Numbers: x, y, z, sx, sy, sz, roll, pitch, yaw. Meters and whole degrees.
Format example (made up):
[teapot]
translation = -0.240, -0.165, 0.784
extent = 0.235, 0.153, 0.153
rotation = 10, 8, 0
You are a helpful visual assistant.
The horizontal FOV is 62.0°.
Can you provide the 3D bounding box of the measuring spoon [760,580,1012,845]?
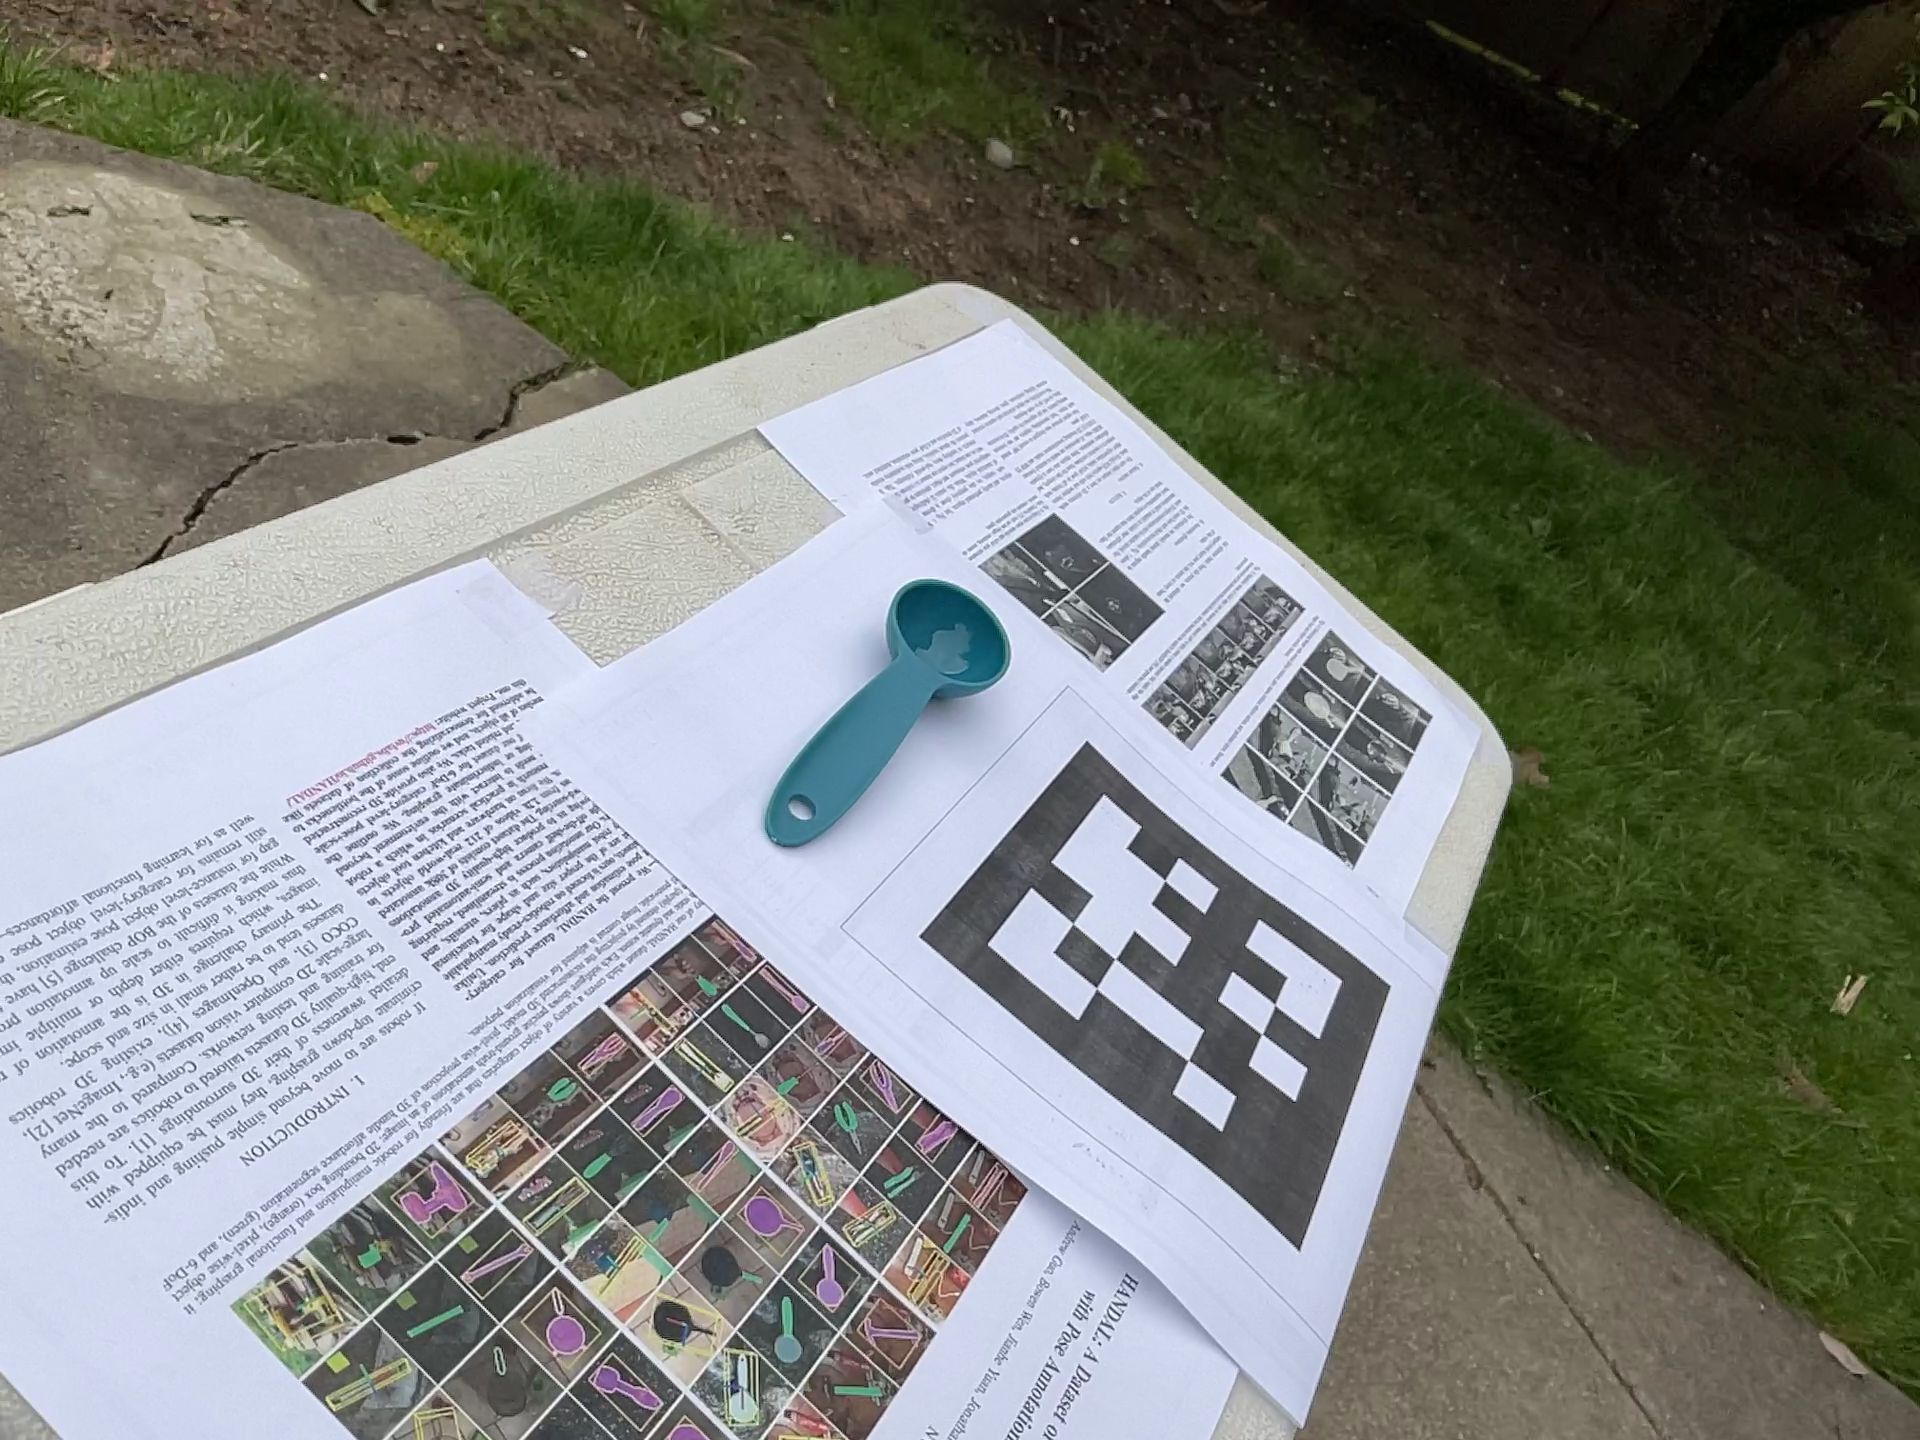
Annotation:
[measuring spoon]
translation = -0.026, 0.001, 0.475
extent = 0.042, 0.021, 0.129
rotation = 39, 44, 0
